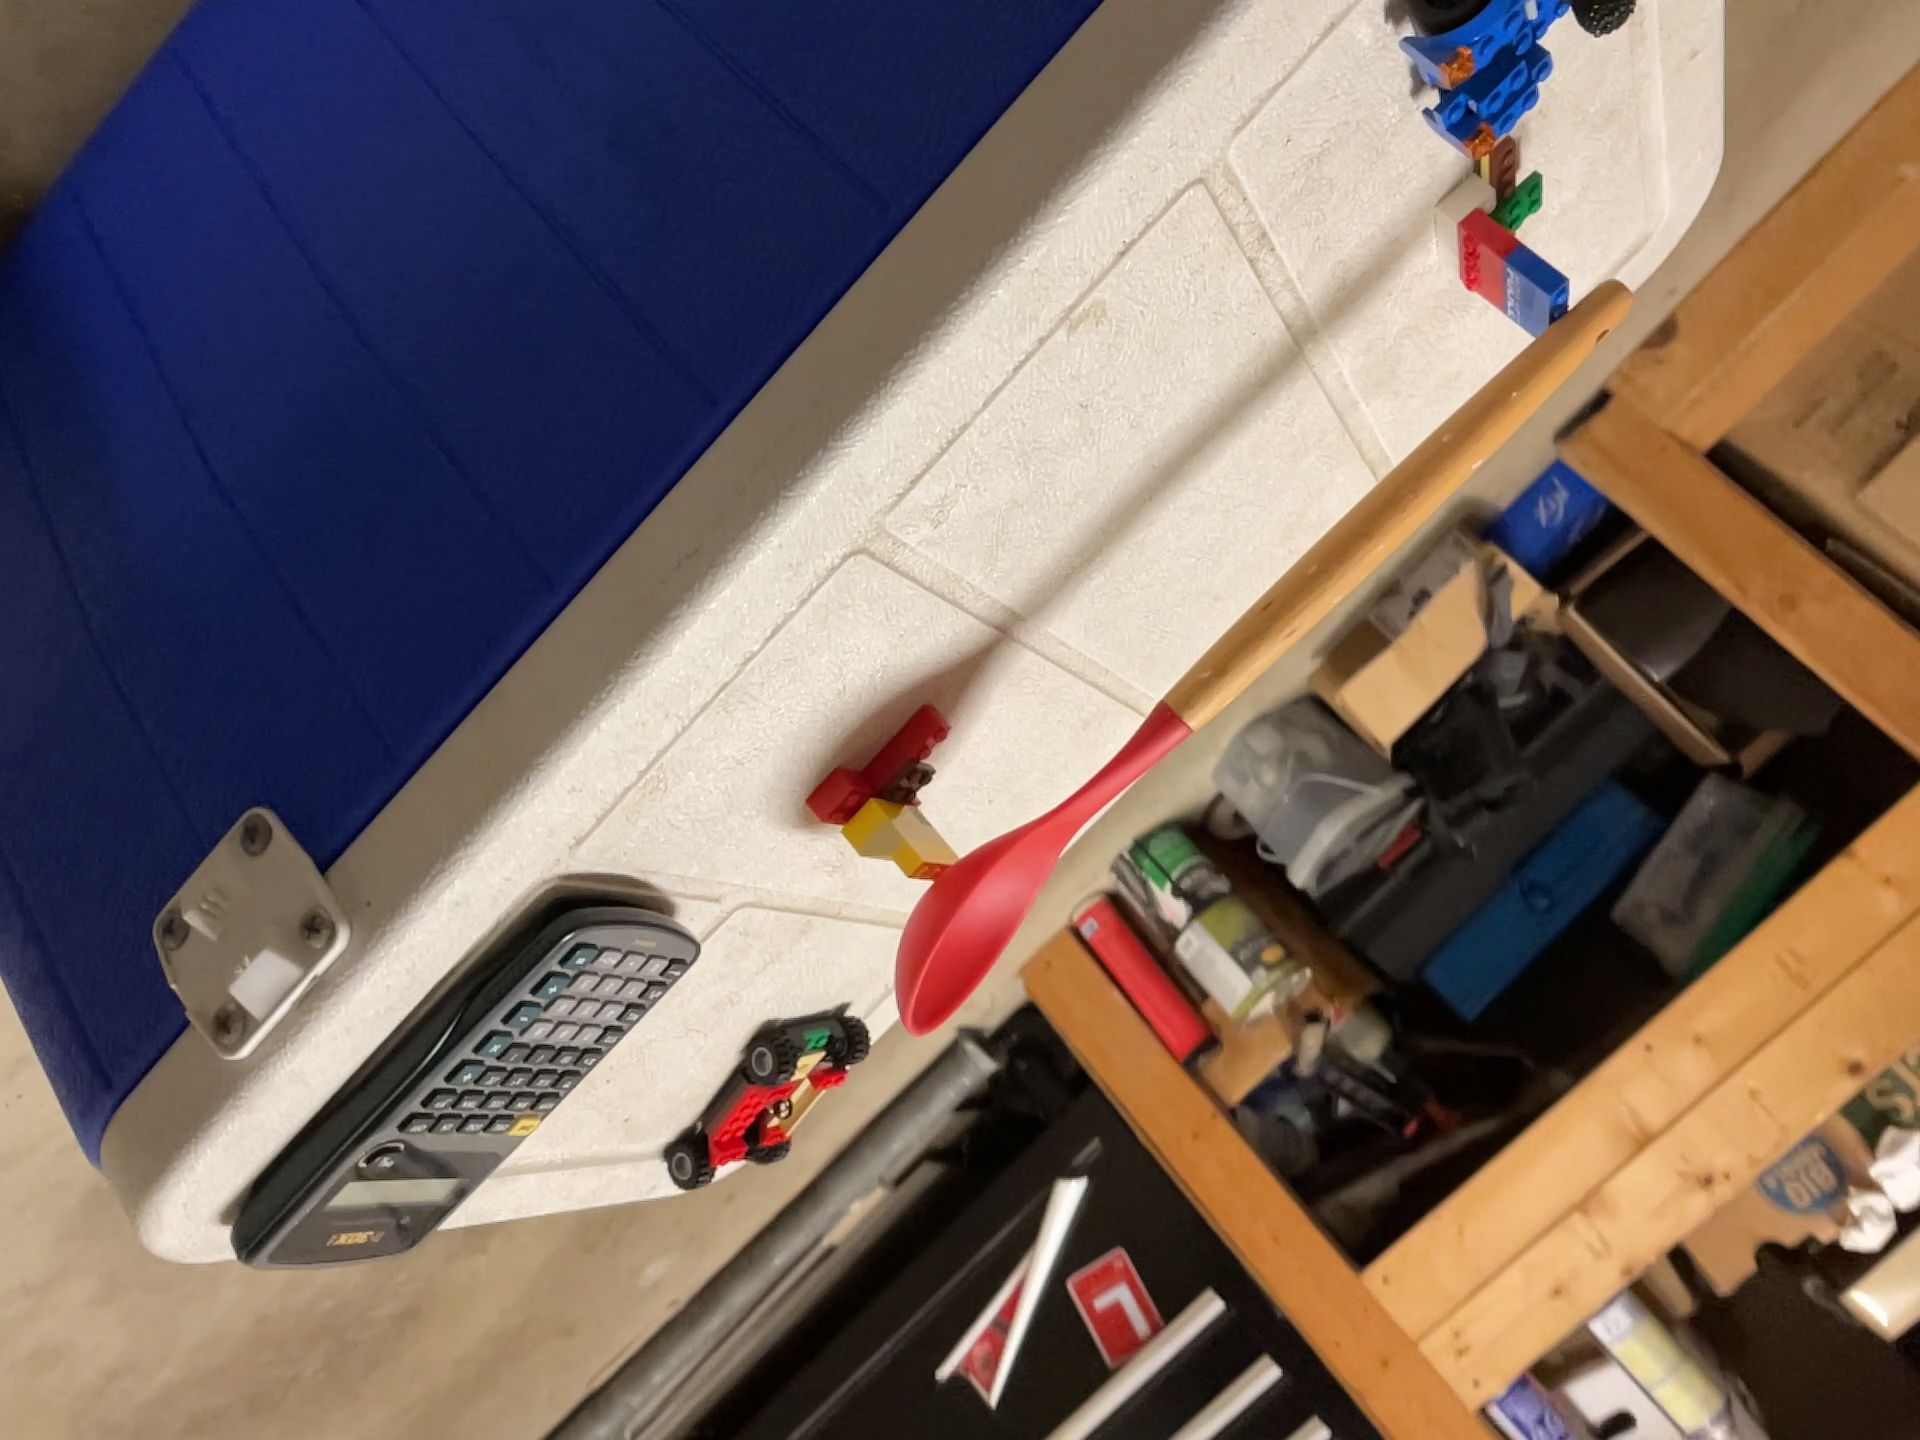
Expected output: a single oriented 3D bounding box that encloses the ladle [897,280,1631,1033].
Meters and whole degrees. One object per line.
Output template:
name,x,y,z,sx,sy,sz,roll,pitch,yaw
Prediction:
ladle,0.089,-0.020,0.501,0.315,0.031,0.069,-45,160,7
